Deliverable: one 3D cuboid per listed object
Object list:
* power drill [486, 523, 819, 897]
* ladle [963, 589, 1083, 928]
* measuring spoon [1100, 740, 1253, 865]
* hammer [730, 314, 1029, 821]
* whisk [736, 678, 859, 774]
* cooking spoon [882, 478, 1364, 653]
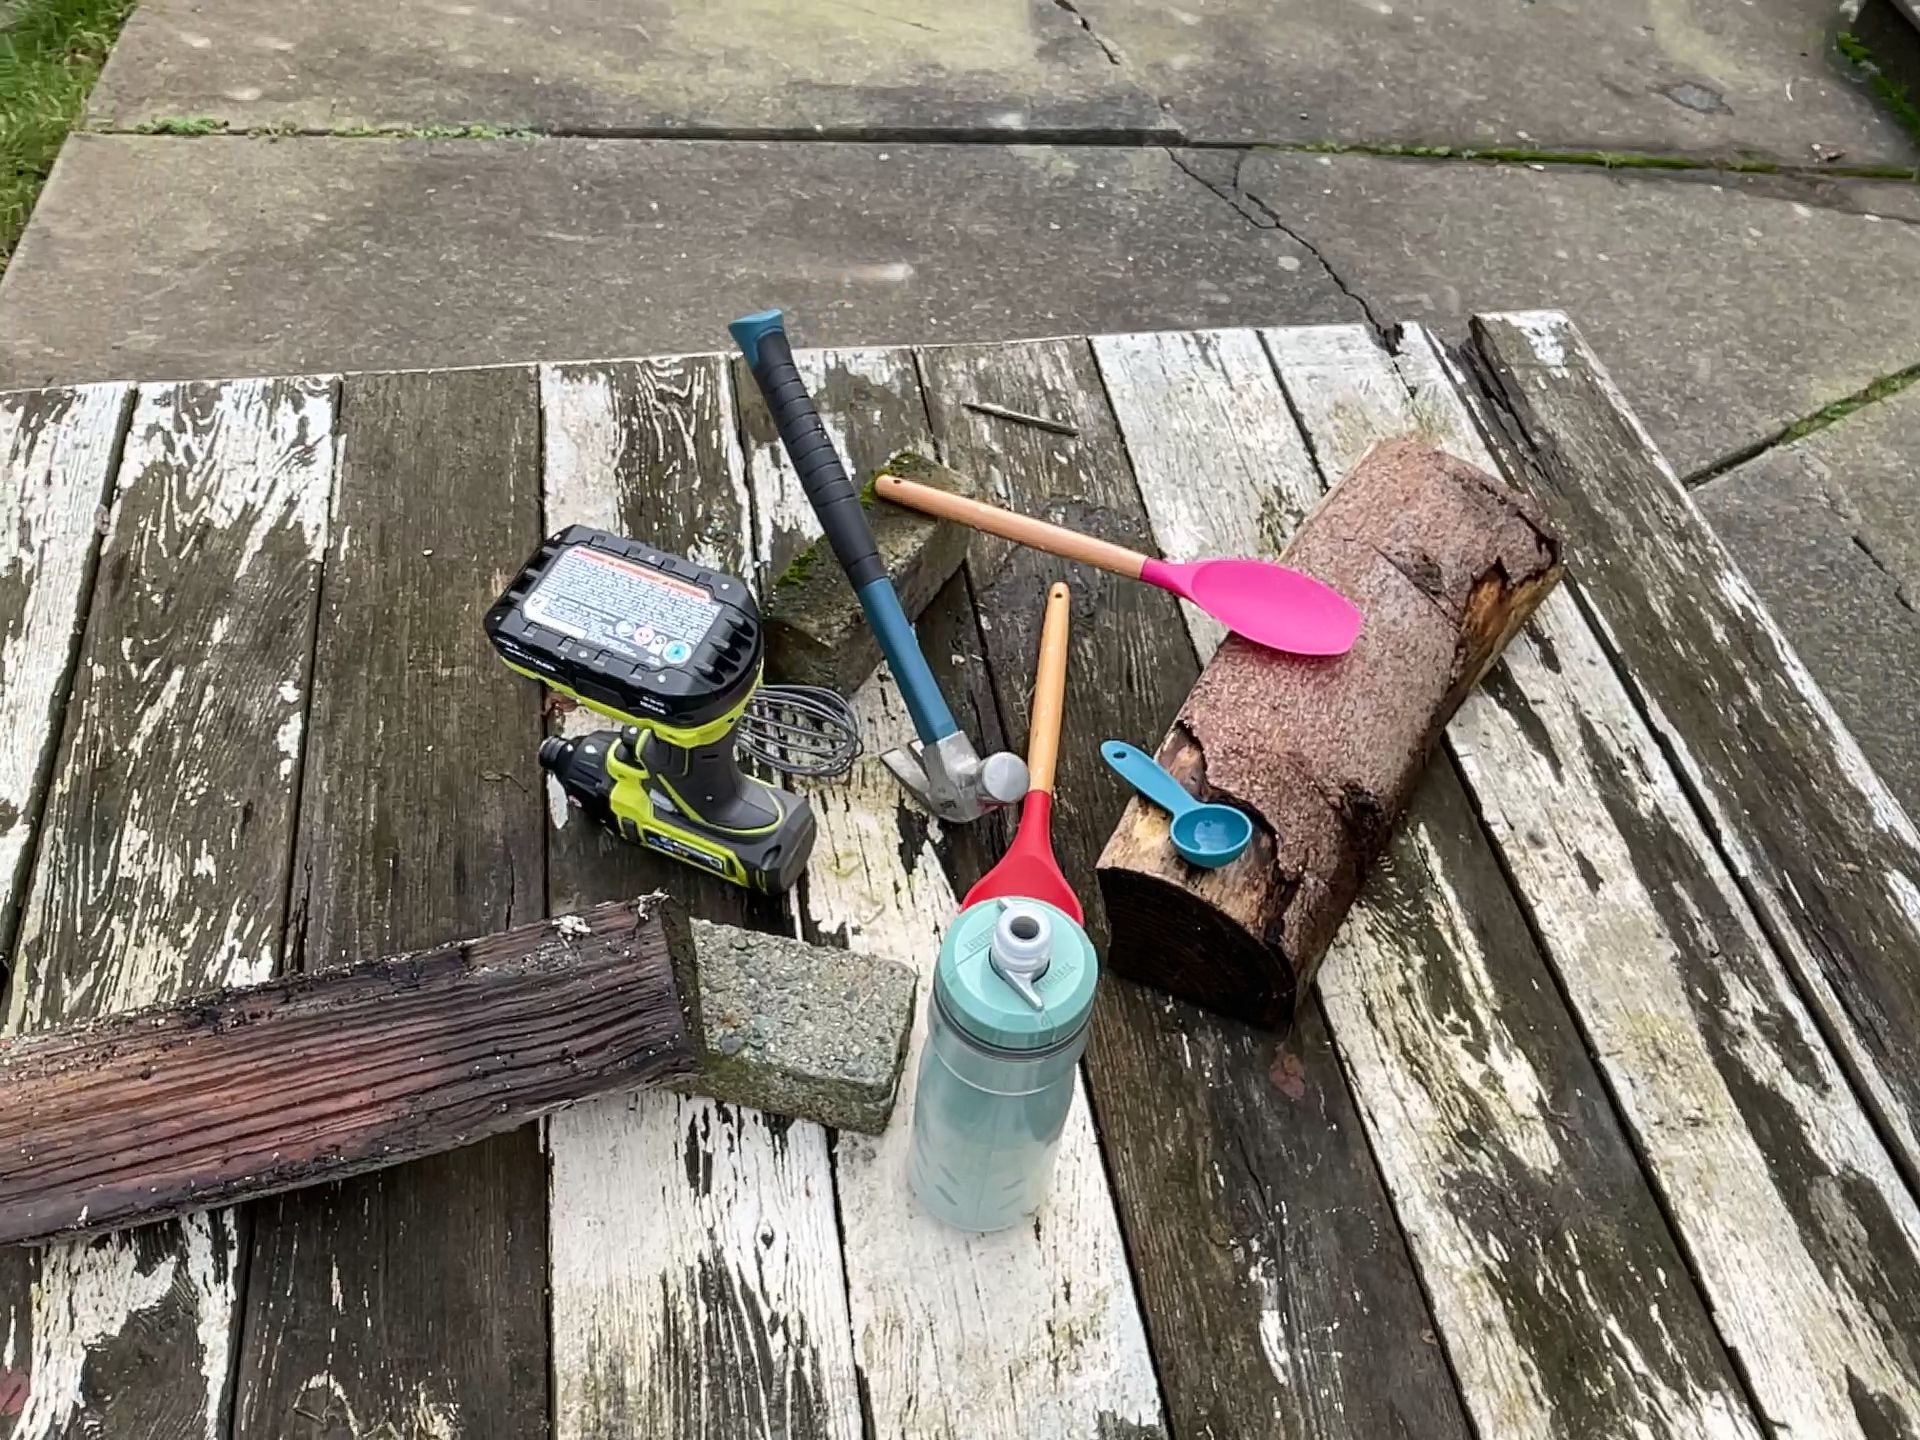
[{"bbox_3d":[-0.171,0.002,0.867,0.171,0.223,0.080,20,59,13],"label":"power drill"},{"bbox_3d":[0.050,0.028,0.993,0.069,0.031,0.316,6,48,3],"label":"ladle"},{"bbox_3d":[0.115,0.046,0.883,0.042,0.021,0.129,-20,33,-20],"label":"measuring spoon"},{"bbox_3d":[-0.058,-0.093,0.955,0.033,0.128,0.331,-23,88,-25],"label":"hammer"},{"bbox_3d":[-0.172,-0.022,0.994,0.239,0.055,0.055,18,43,14],"label":"whisk"},{"bbox_3d":[0.095,-0.102,1.000,0.319,0.017,0.069,20,52,16],"label":"cooking spoon"}]
